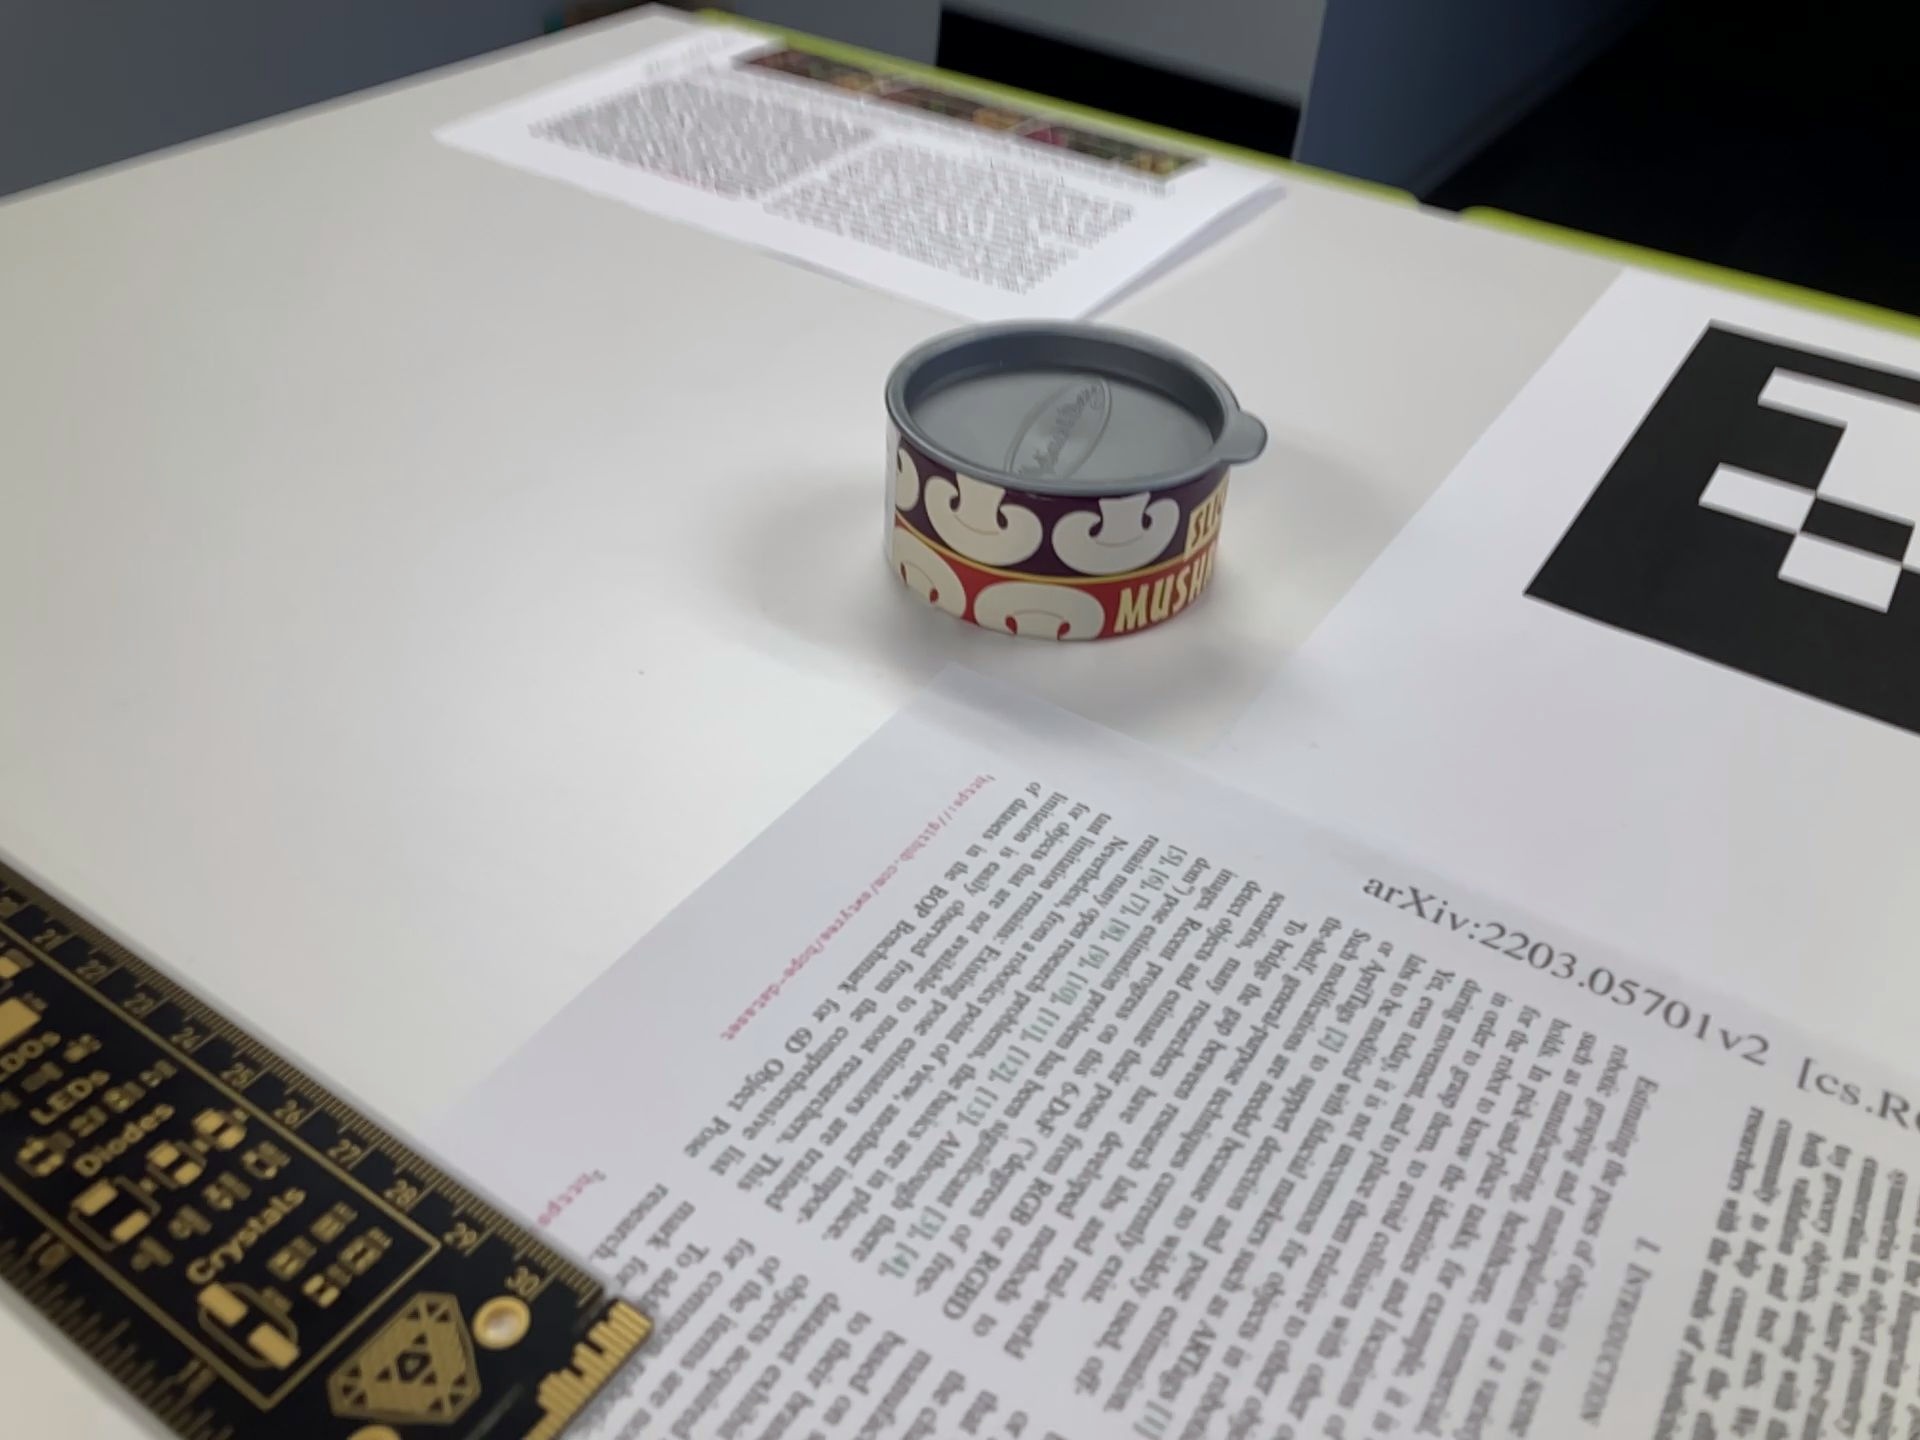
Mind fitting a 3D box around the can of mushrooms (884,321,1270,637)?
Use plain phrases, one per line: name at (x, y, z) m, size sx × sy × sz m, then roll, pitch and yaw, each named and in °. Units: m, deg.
can of mushrooms at (0.021, -0.047, 0.301) m, size 0.071 × 0.033 × 0.071 m, roll 3°, pitch 38°, yaw -2°
